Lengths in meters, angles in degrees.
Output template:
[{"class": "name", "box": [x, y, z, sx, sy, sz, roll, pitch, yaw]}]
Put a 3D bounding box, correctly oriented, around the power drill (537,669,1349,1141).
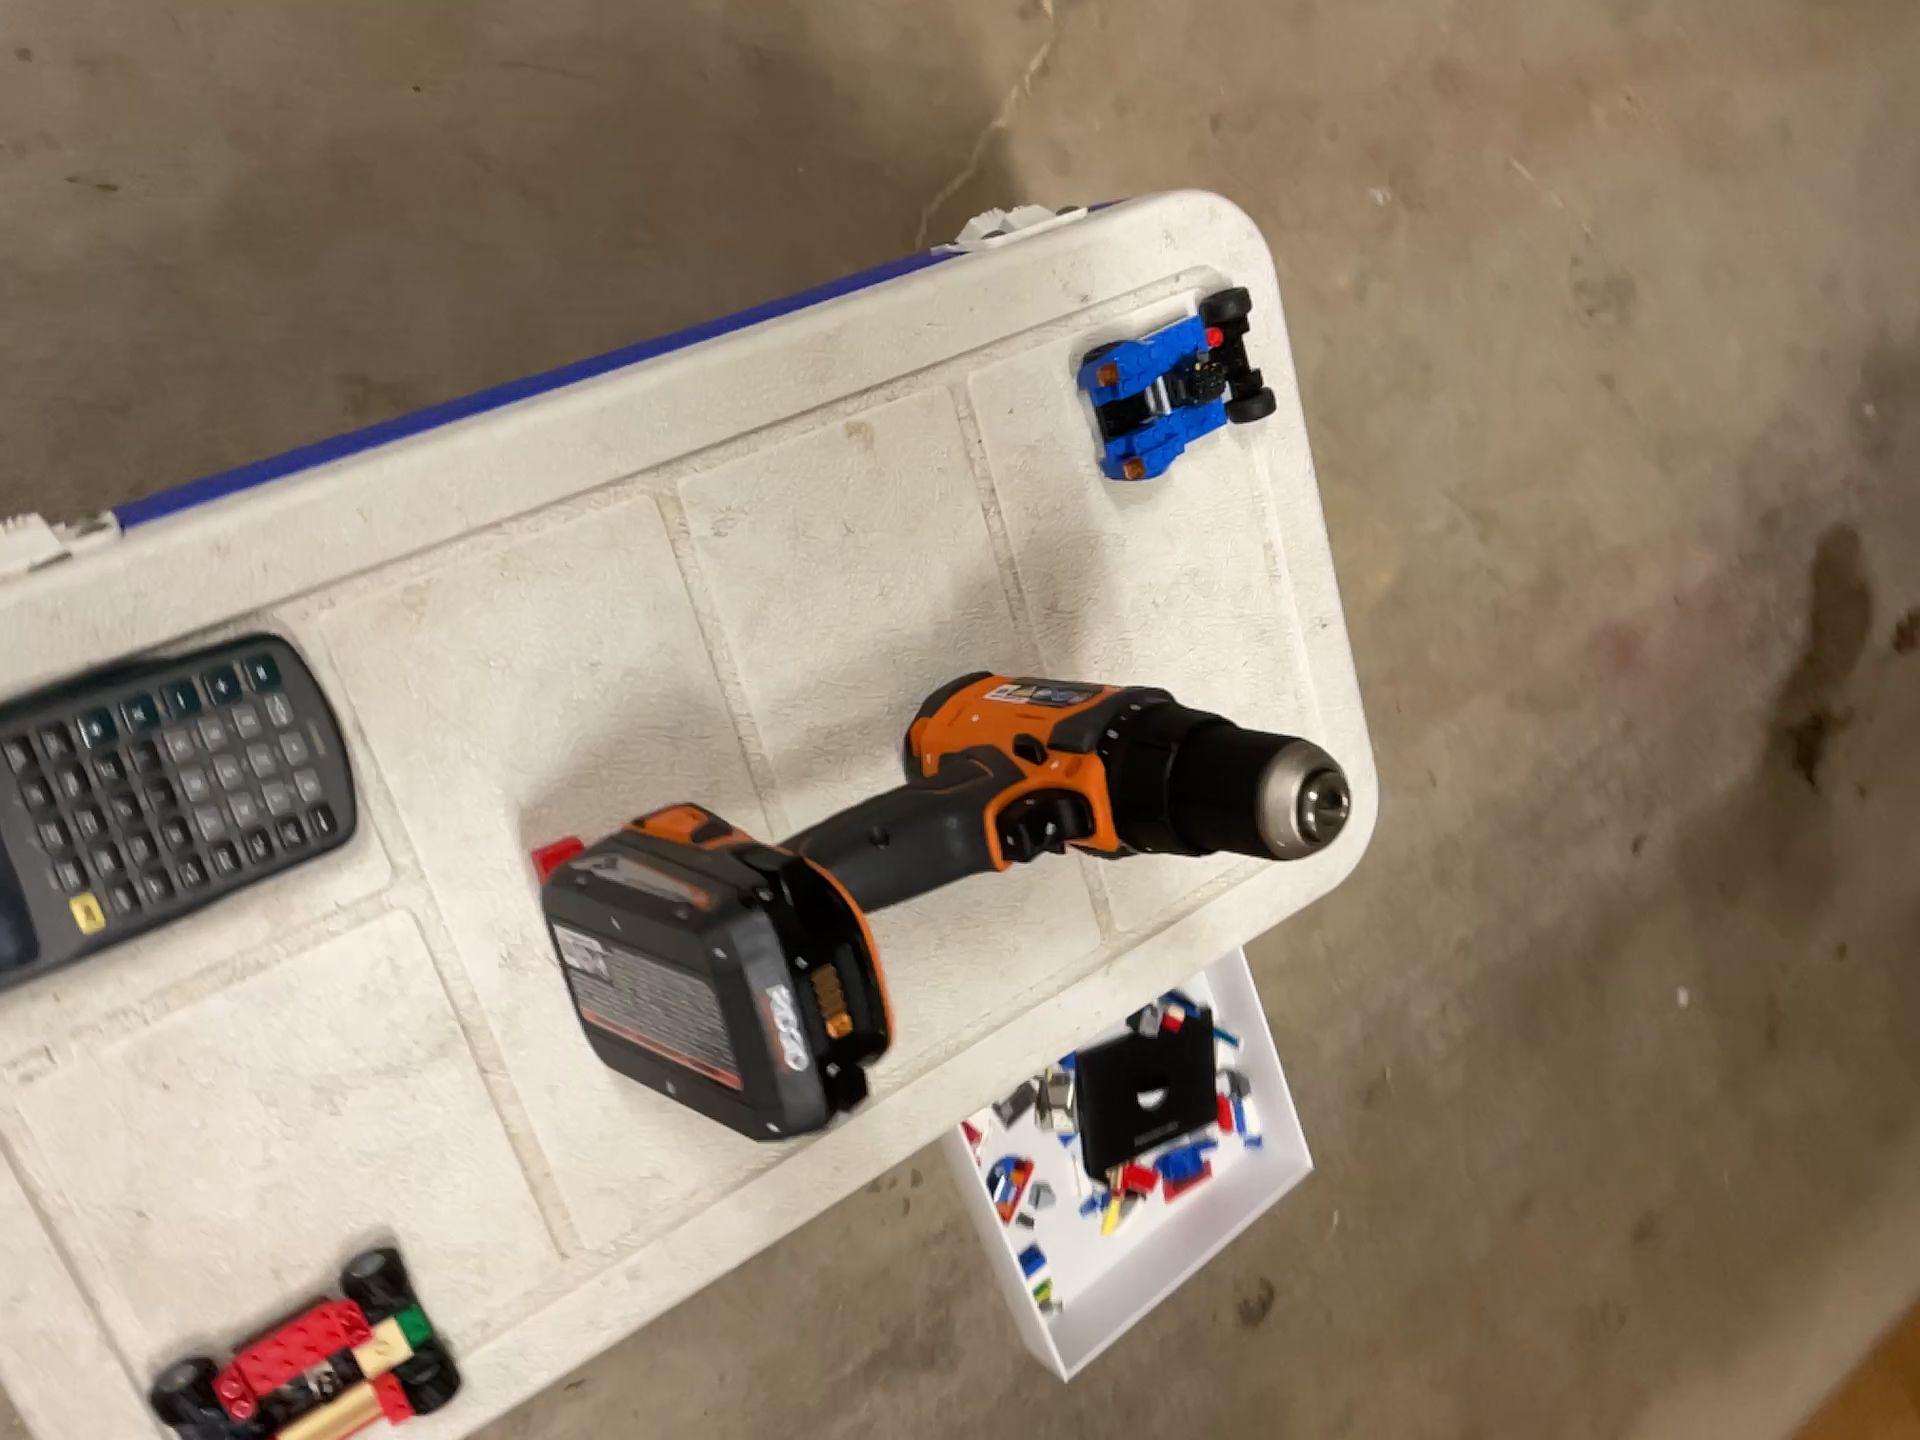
[{"class": "power drill", "box": [0.000, 0.047, 0.532, 0.226, 0.185, 0.084, -27, 113, -37]}]
